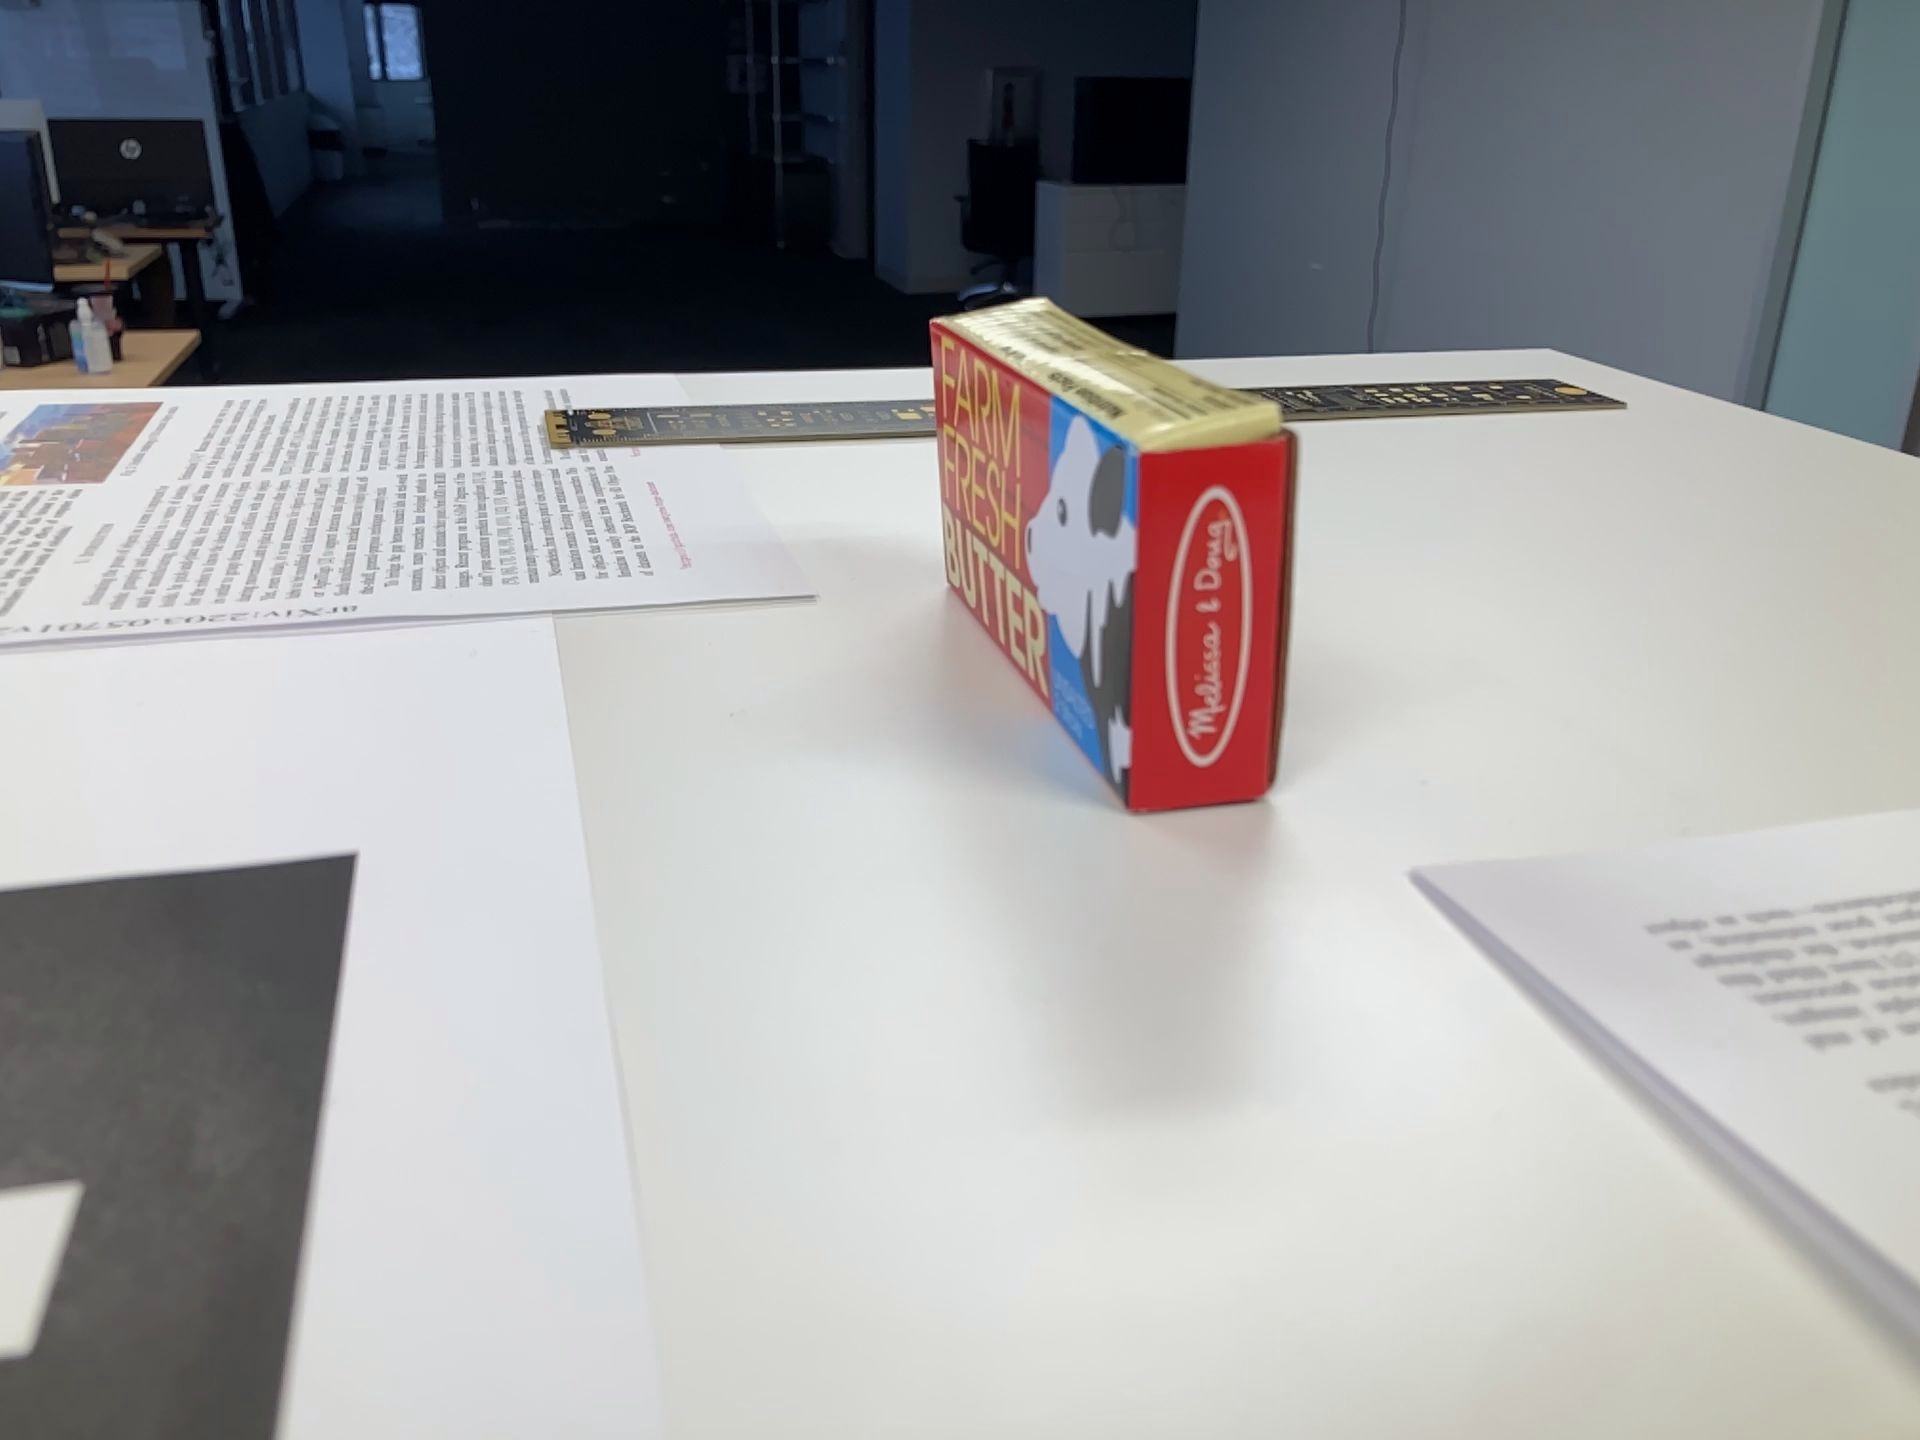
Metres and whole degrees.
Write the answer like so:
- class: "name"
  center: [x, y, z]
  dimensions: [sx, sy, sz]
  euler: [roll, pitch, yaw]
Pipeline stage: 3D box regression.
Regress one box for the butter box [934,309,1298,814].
- class: "butter box"
  center: [0.020, -0.031, 0.251]
  dimensions: [0.024, 0.053, 0.103]
  euler: [-8, 24, -13]
